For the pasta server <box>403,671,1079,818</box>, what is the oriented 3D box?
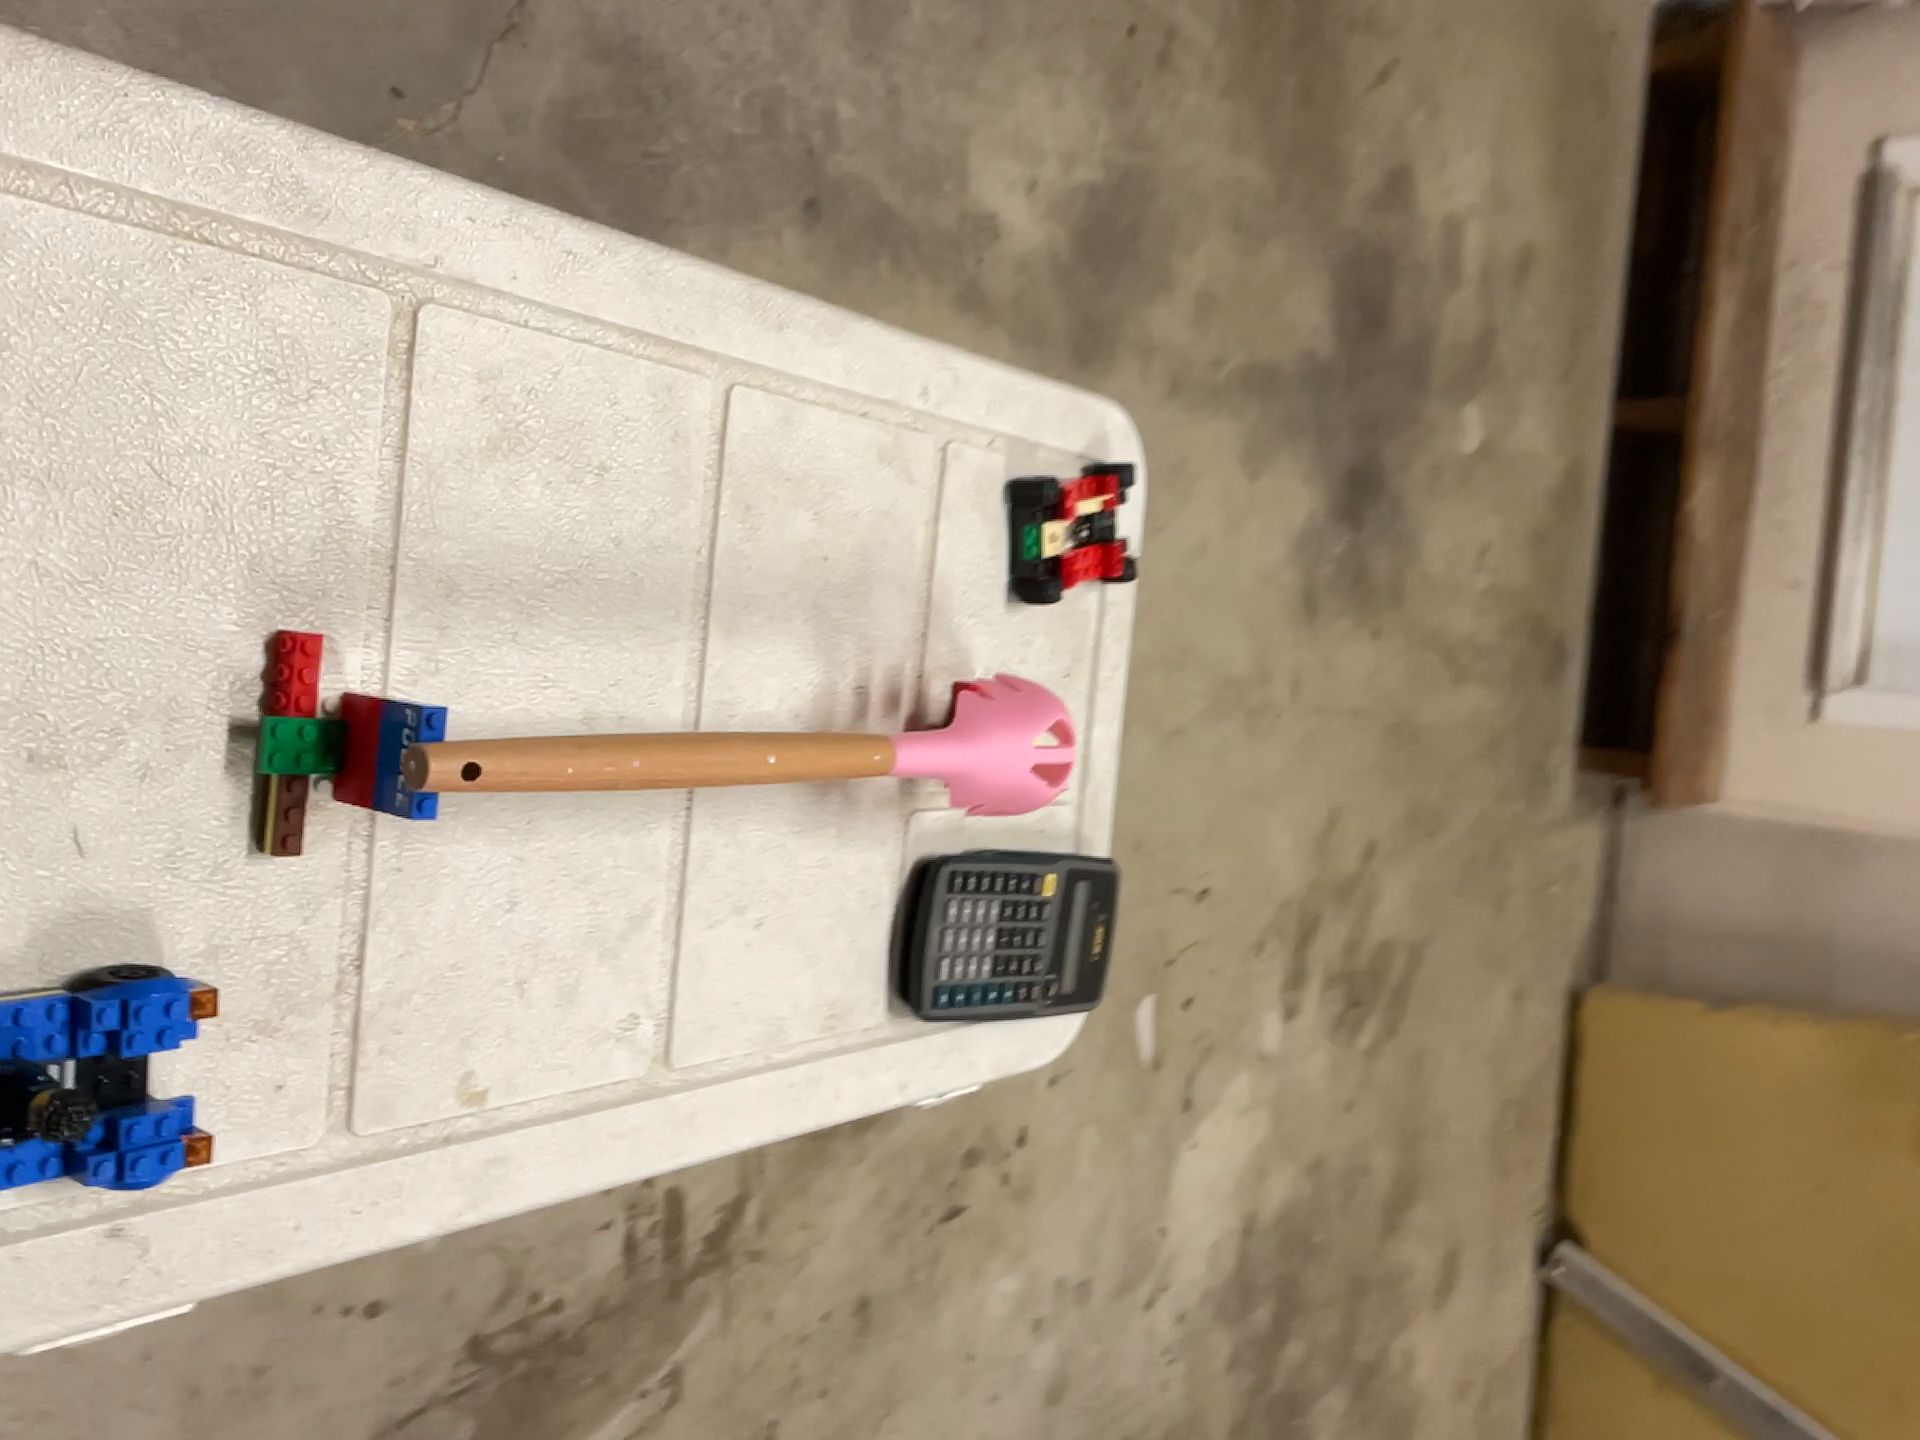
[{"bbox_3d":[-0.052,0.011,0.556,0.316,0.040,0.060,1,97,-50],"label":"pasta server"}]
